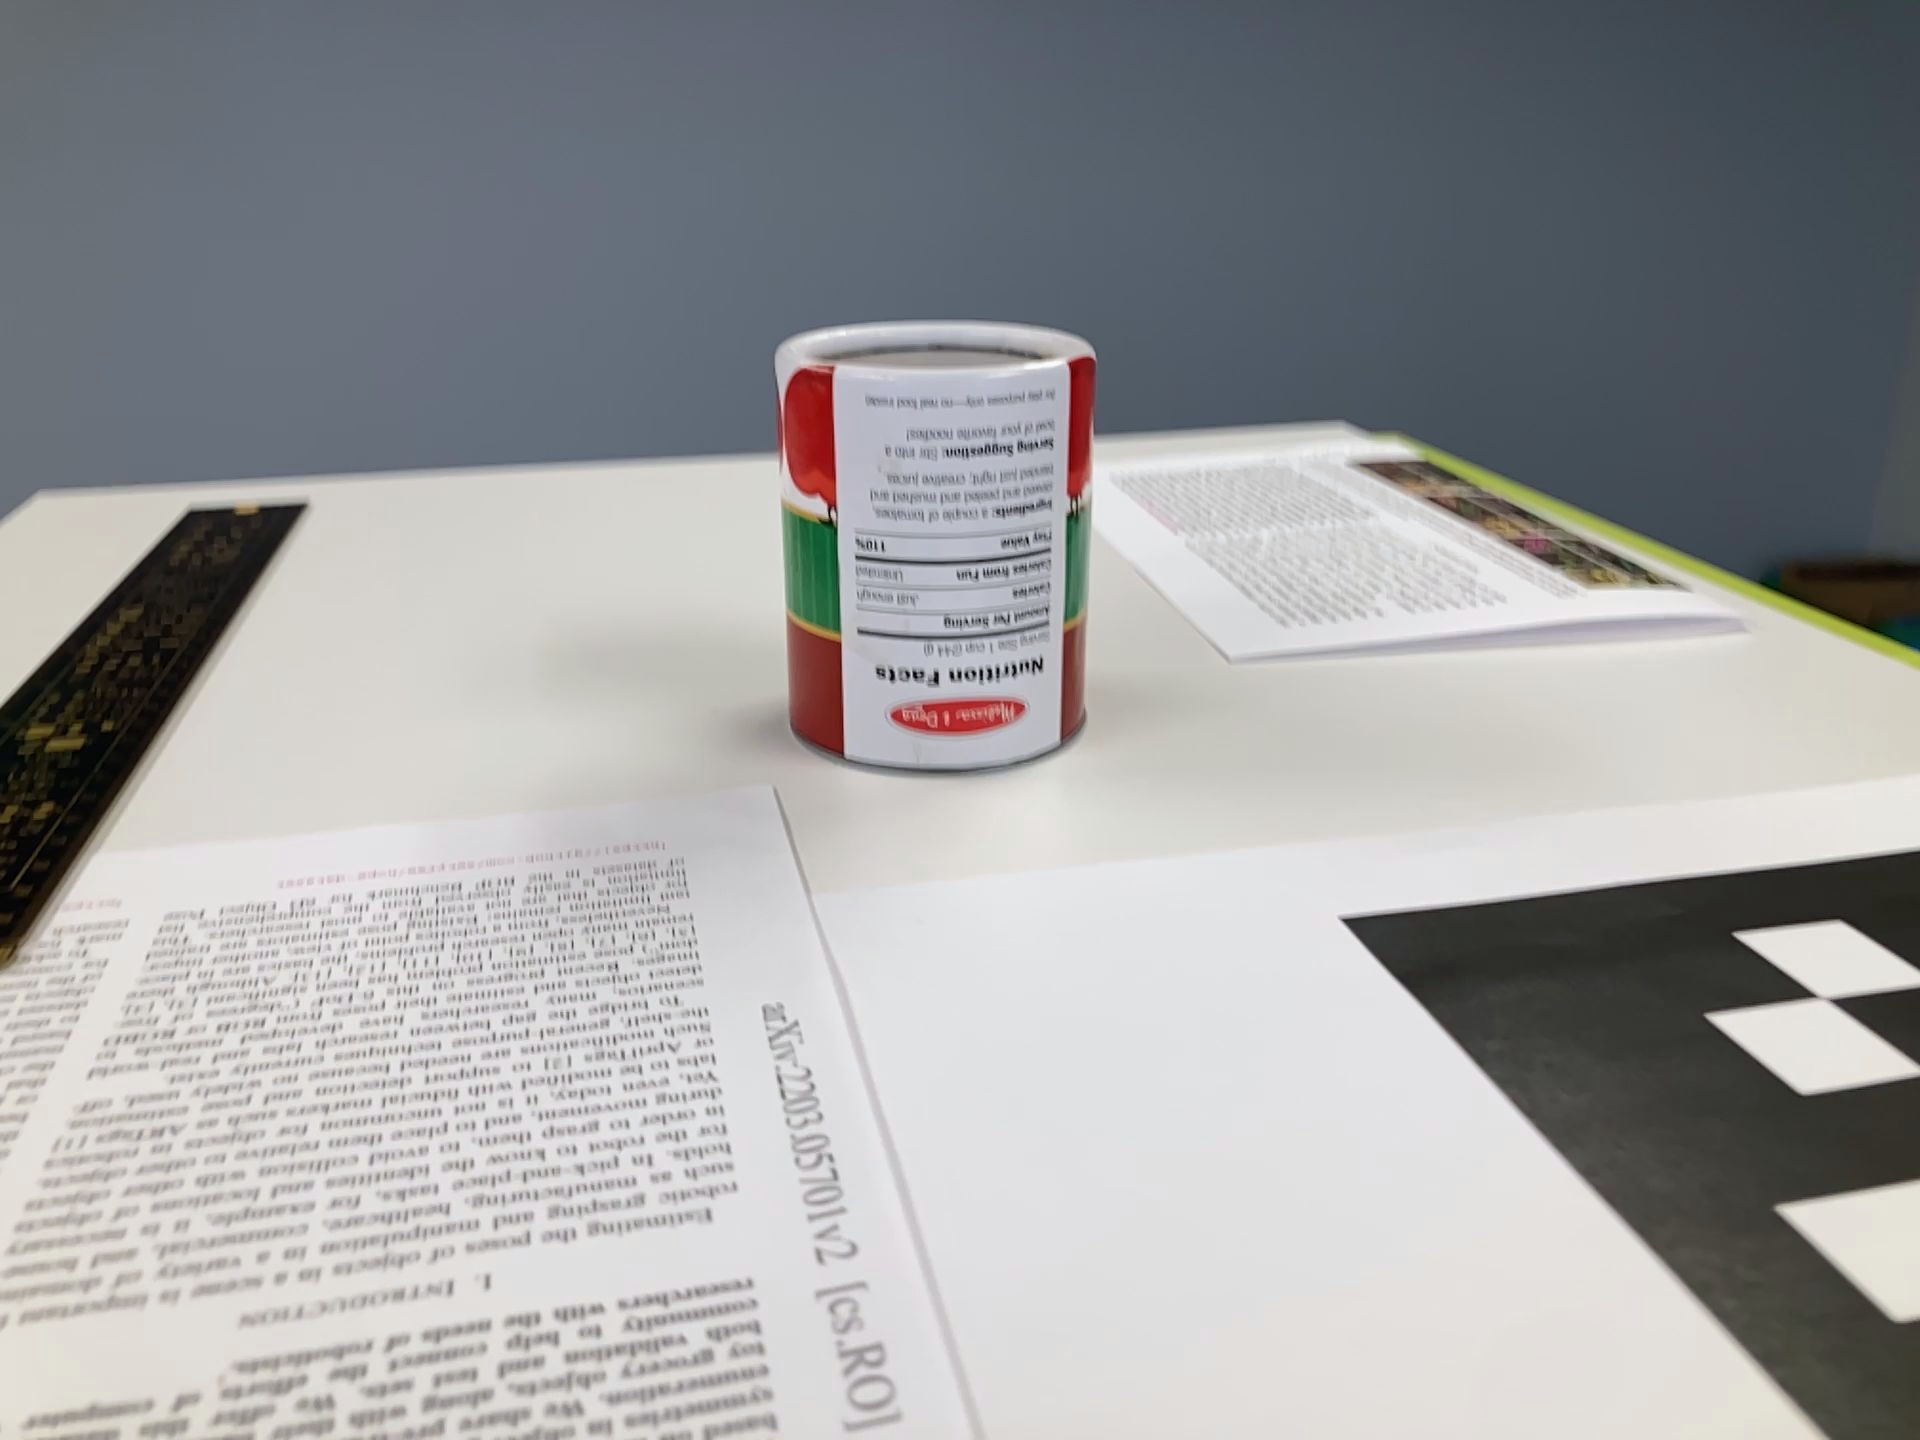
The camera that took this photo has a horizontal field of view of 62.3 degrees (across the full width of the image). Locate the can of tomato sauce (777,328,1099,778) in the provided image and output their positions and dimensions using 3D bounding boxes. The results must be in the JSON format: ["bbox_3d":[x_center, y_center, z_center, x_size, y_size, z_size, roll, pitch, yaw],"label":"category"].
[{"bbox_3d":[-0.005,-0.039,0.345,0.071,0.083,0.071,-2,21,1],"label":"can of tomato sauce"}]
